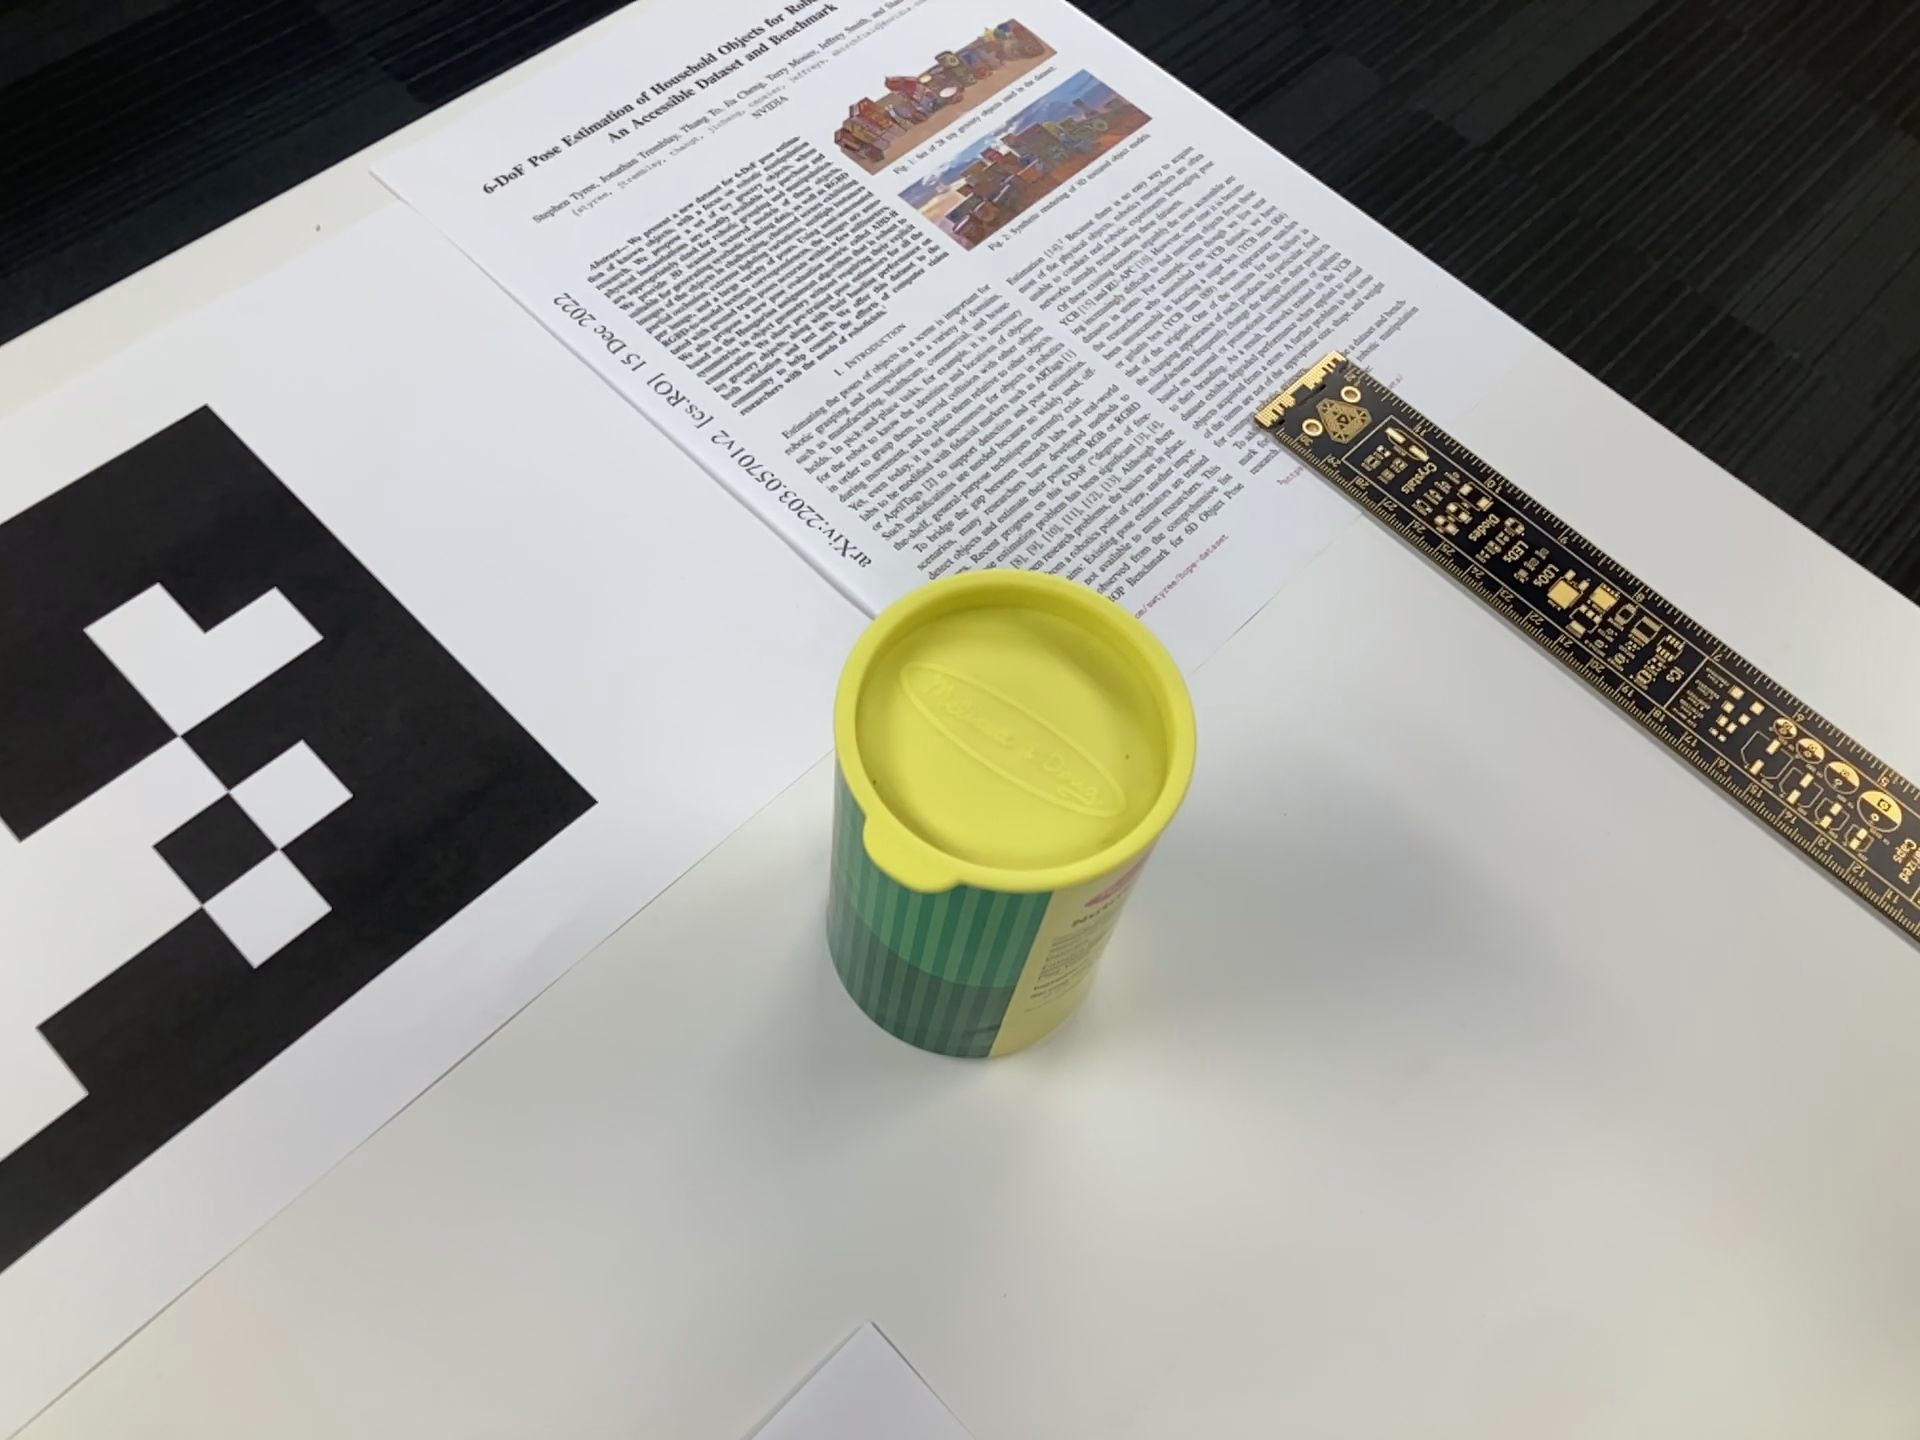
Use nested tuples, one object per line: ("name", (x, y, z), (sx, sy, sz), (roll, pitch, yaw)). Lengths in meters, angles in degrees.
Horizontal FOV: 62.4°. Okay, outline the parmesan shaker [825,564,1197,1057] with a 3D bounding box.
("parmesan shaker", (0.003, 0.025, 0.329), (0.071, 0.103, 0.071), (3, 61, -5))
